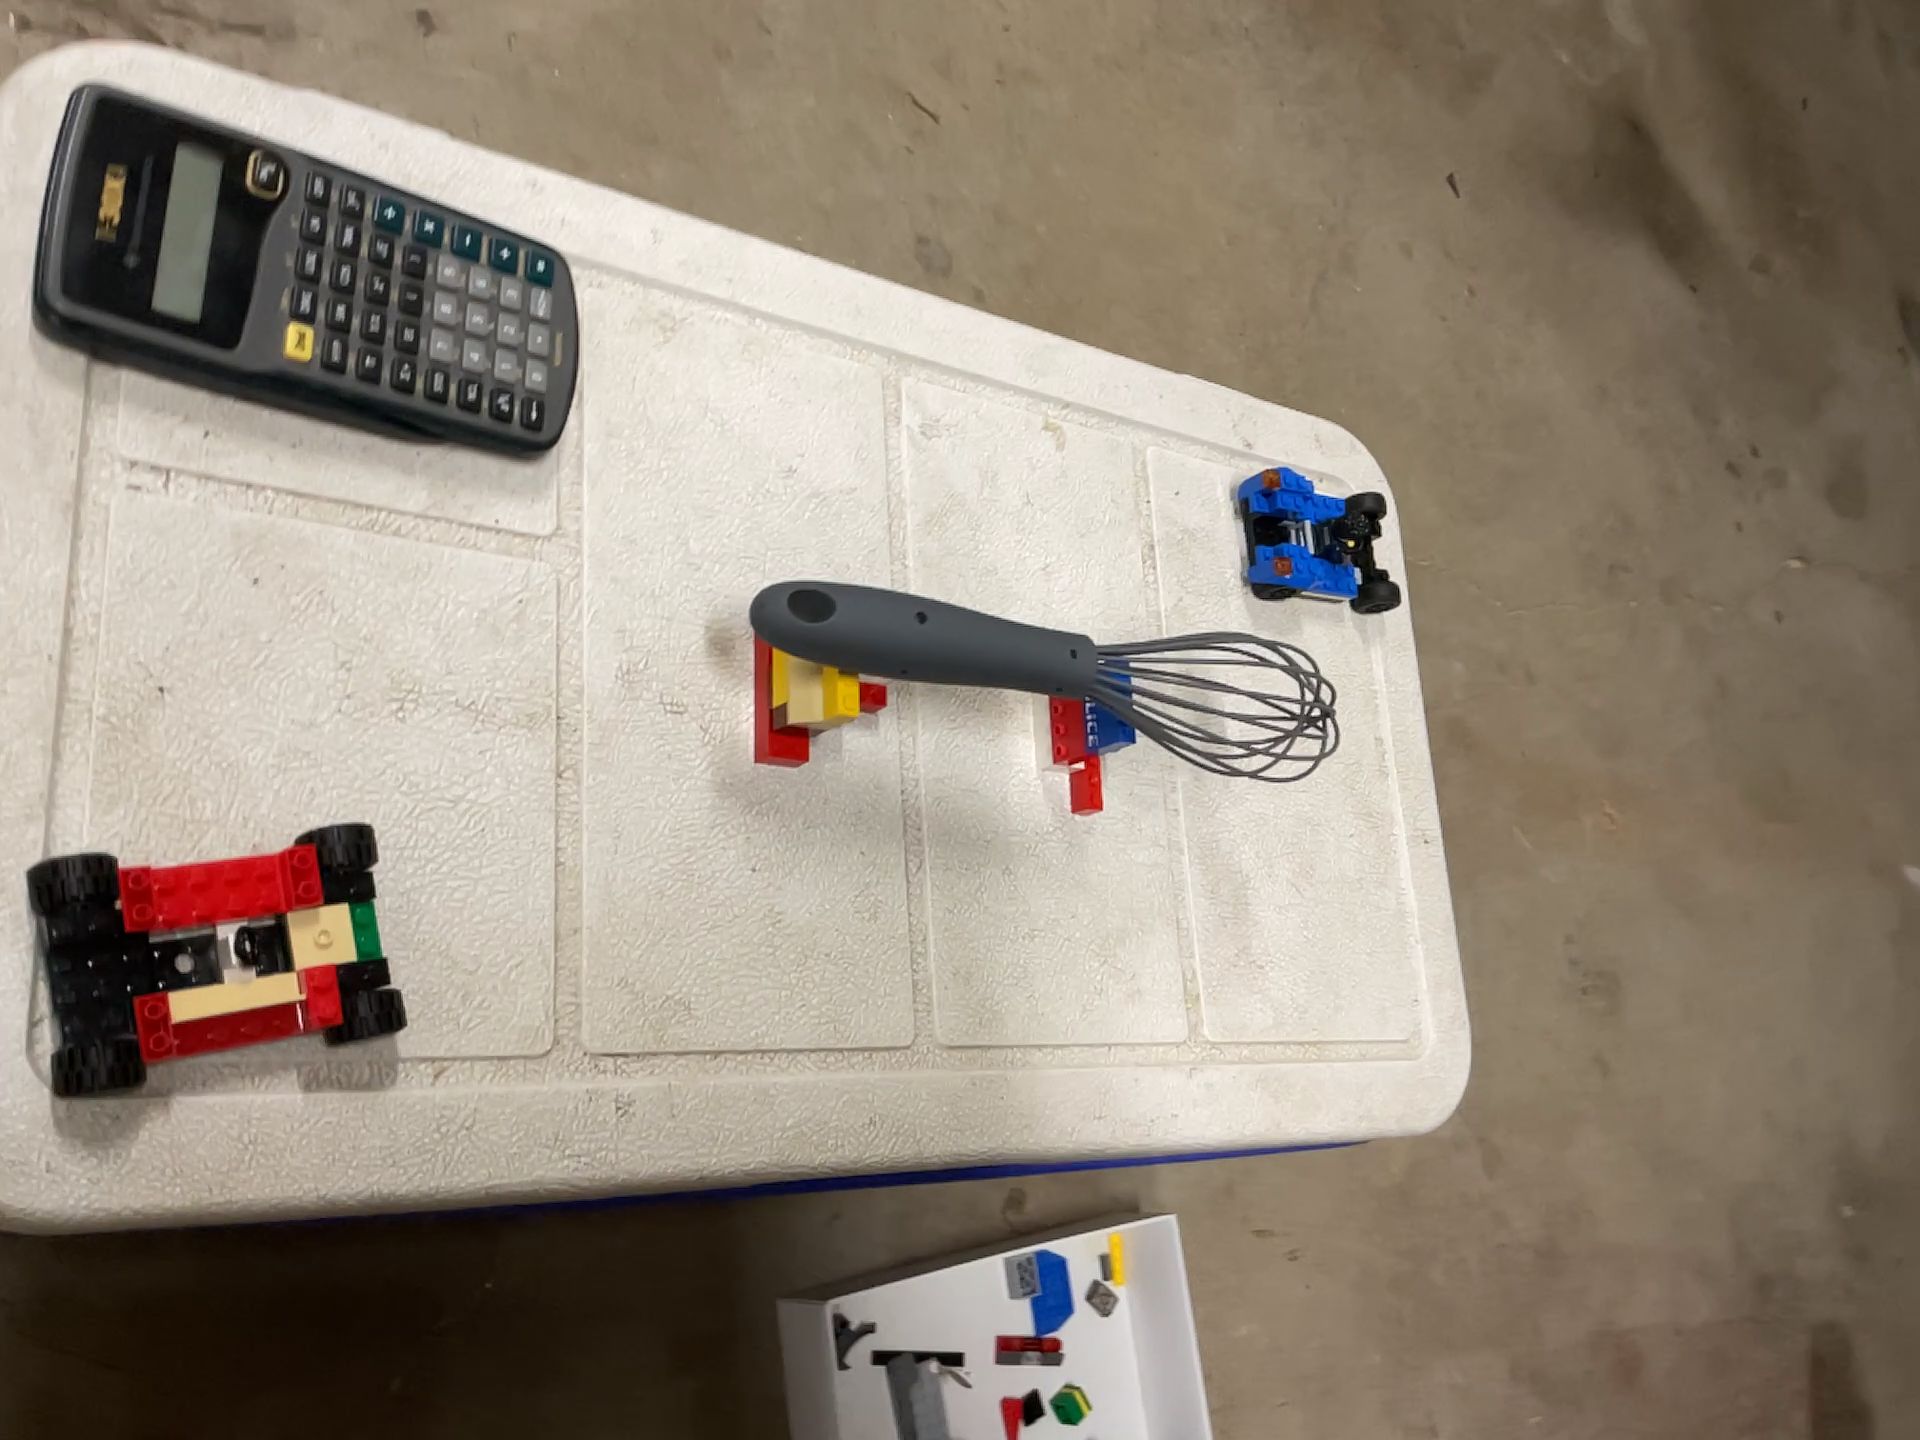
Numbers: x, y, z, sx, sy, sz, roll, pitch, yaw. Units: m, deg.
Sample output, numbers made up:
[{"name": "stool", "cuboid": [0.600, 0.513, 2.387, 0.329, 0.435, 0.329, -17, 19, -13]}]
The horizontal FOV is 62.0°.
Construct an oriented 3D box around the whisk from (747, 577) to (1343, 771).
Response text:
[{"name": "whisk", "cuboid": [0.038, -0.019, 0.547, 0.239, 0.055, 0.055, 10, 68, -30]}]
